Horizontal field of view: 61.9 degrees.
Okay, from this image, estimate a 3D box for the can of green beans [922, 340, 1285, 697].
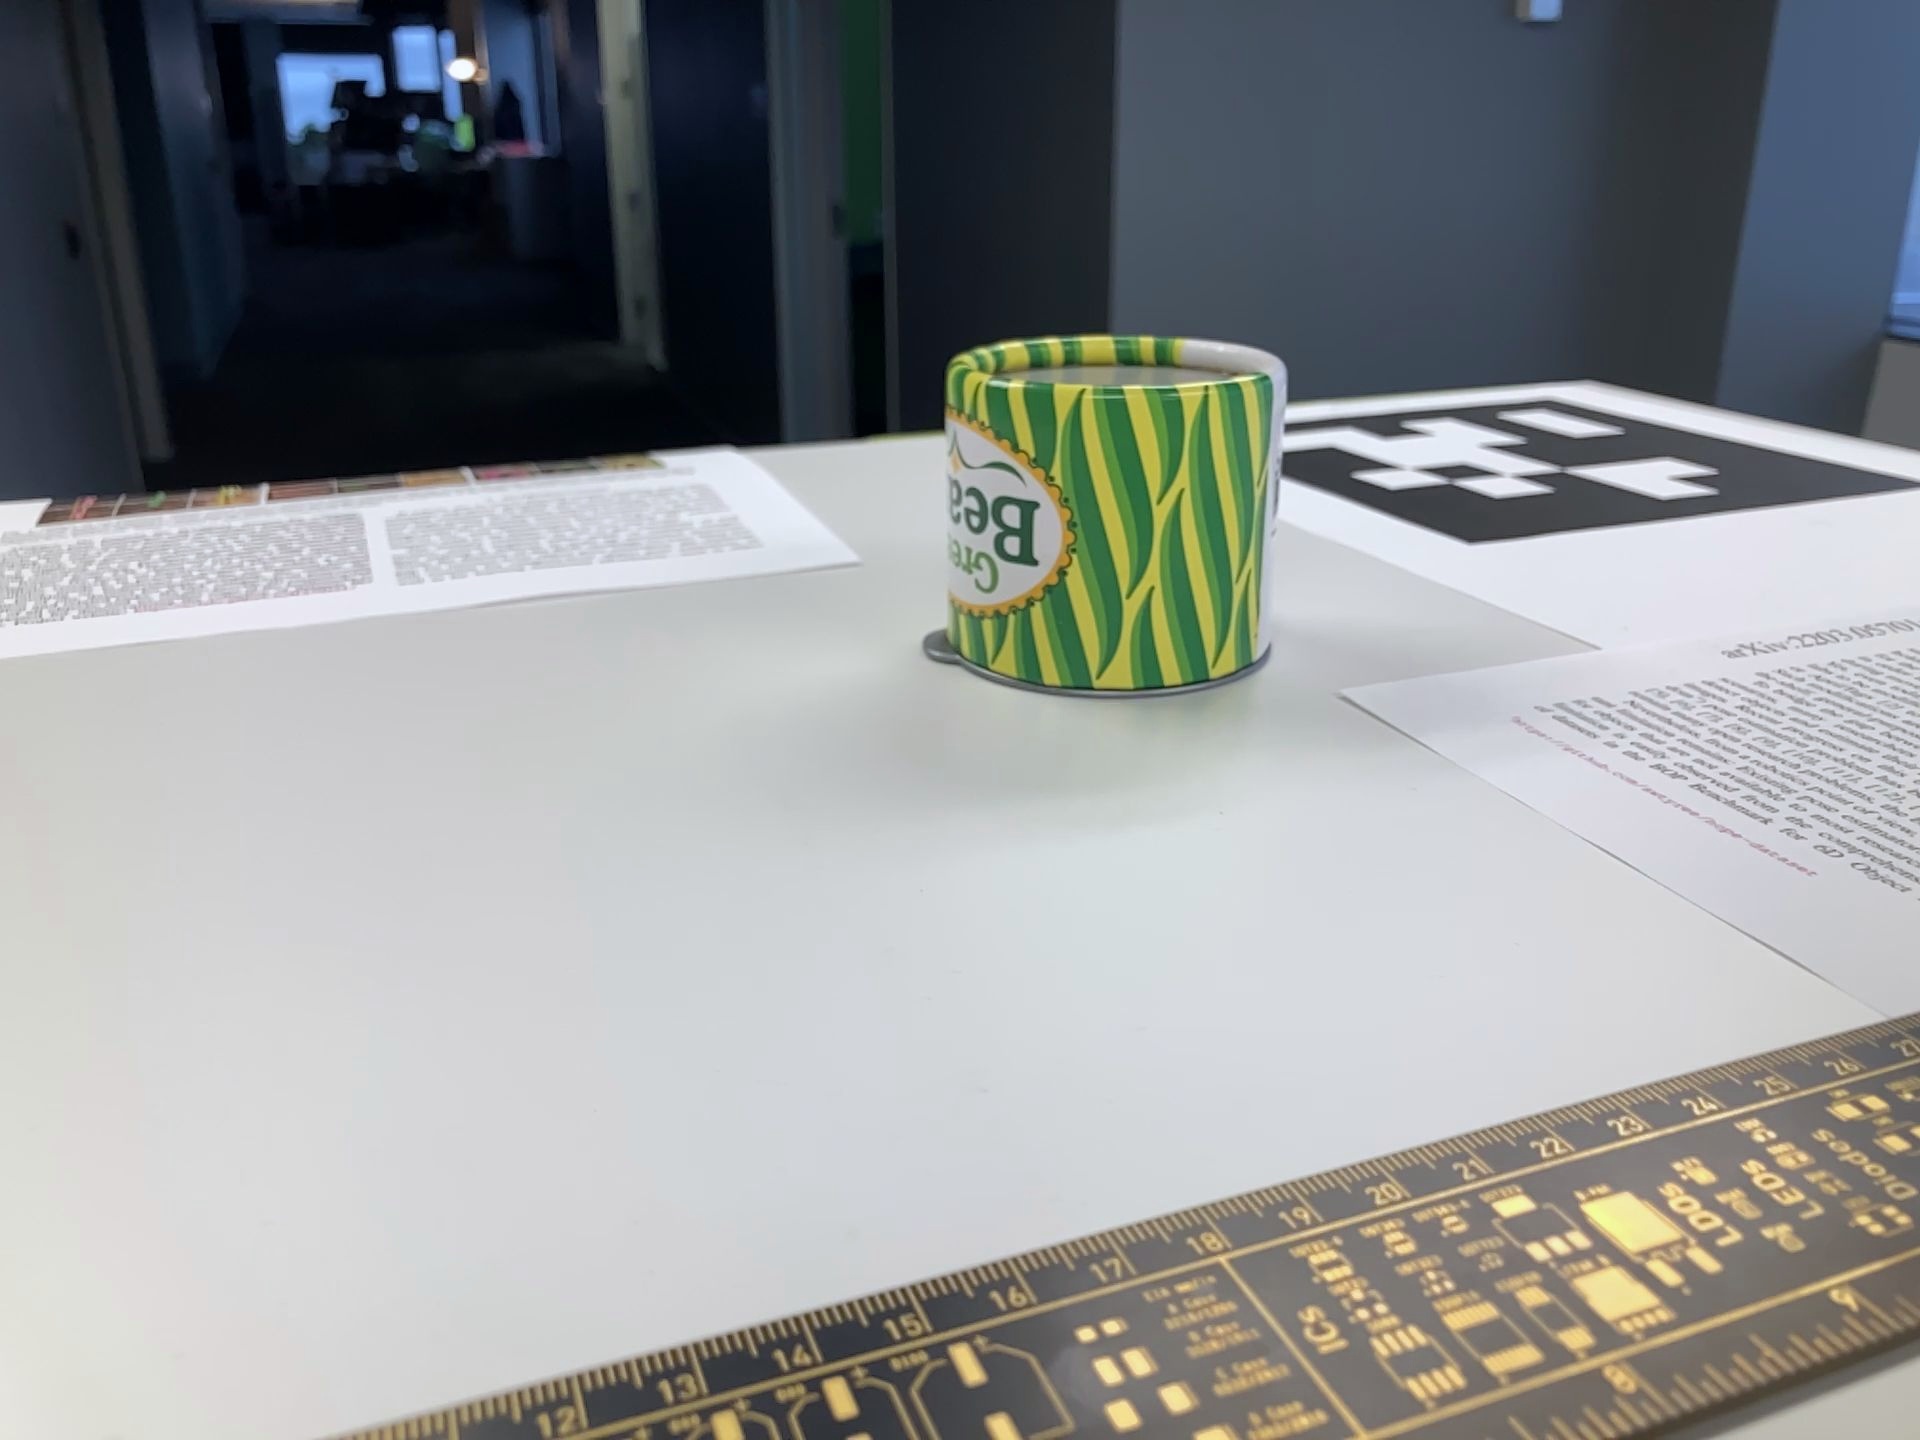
[{"bbox_3d":[0.030,-0.043,0.319,0.071,0.058,0.071,-1,21,0],"label":"can of green beans"}]
